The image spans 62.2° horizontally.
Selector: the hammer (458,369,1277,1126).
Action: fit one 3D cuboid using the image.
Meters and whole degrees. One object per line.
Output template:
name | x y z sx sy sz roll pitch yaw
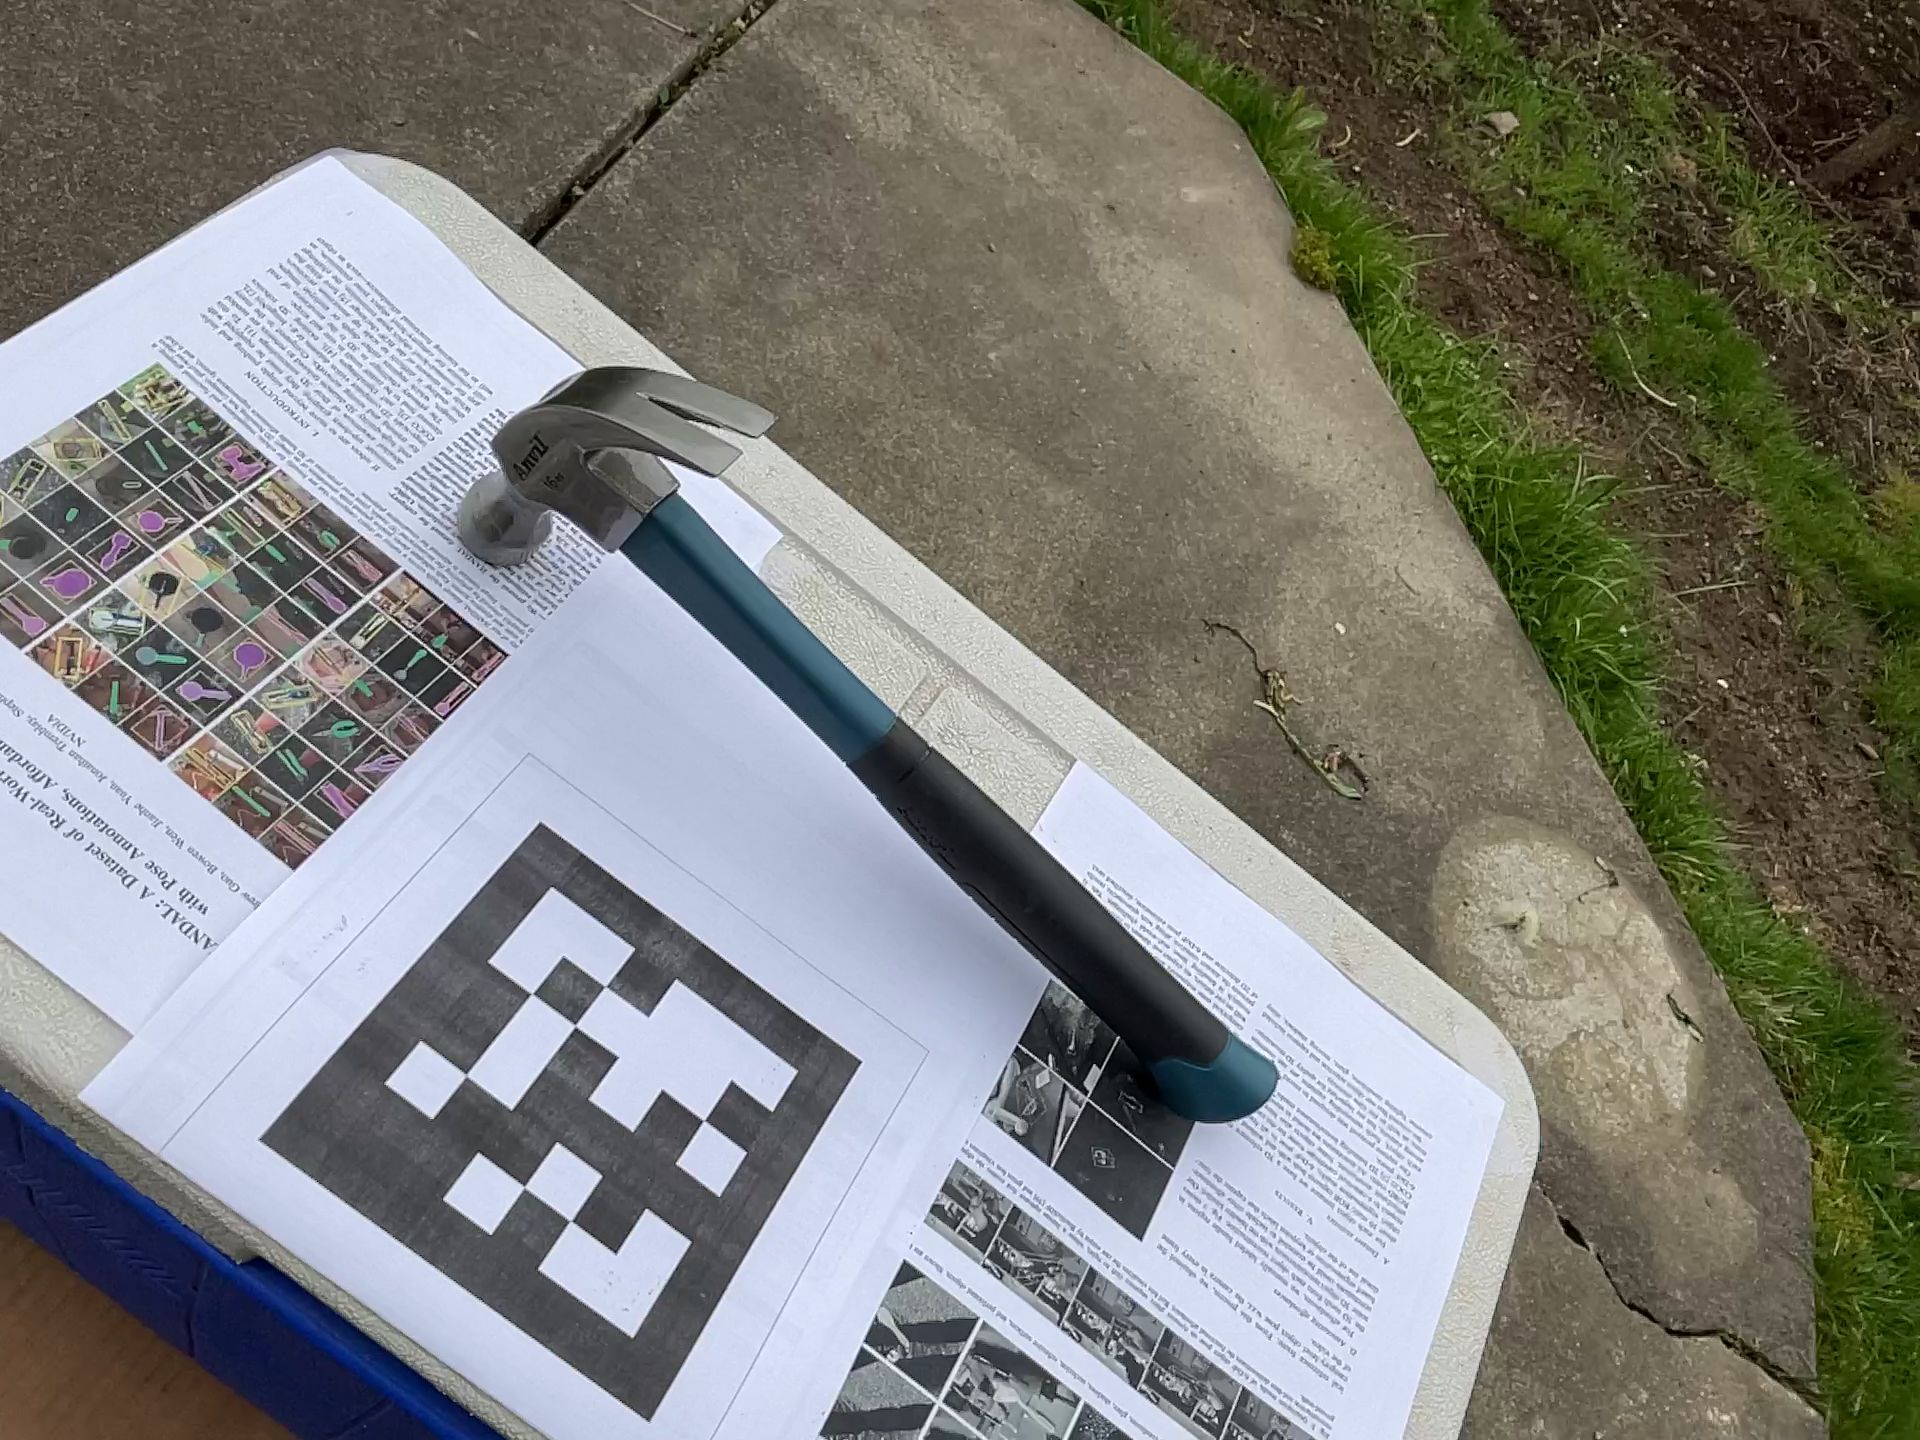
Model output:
hammer | -0.020 0.017 0.525 0.331 0.128 0.033 45 52 -10
